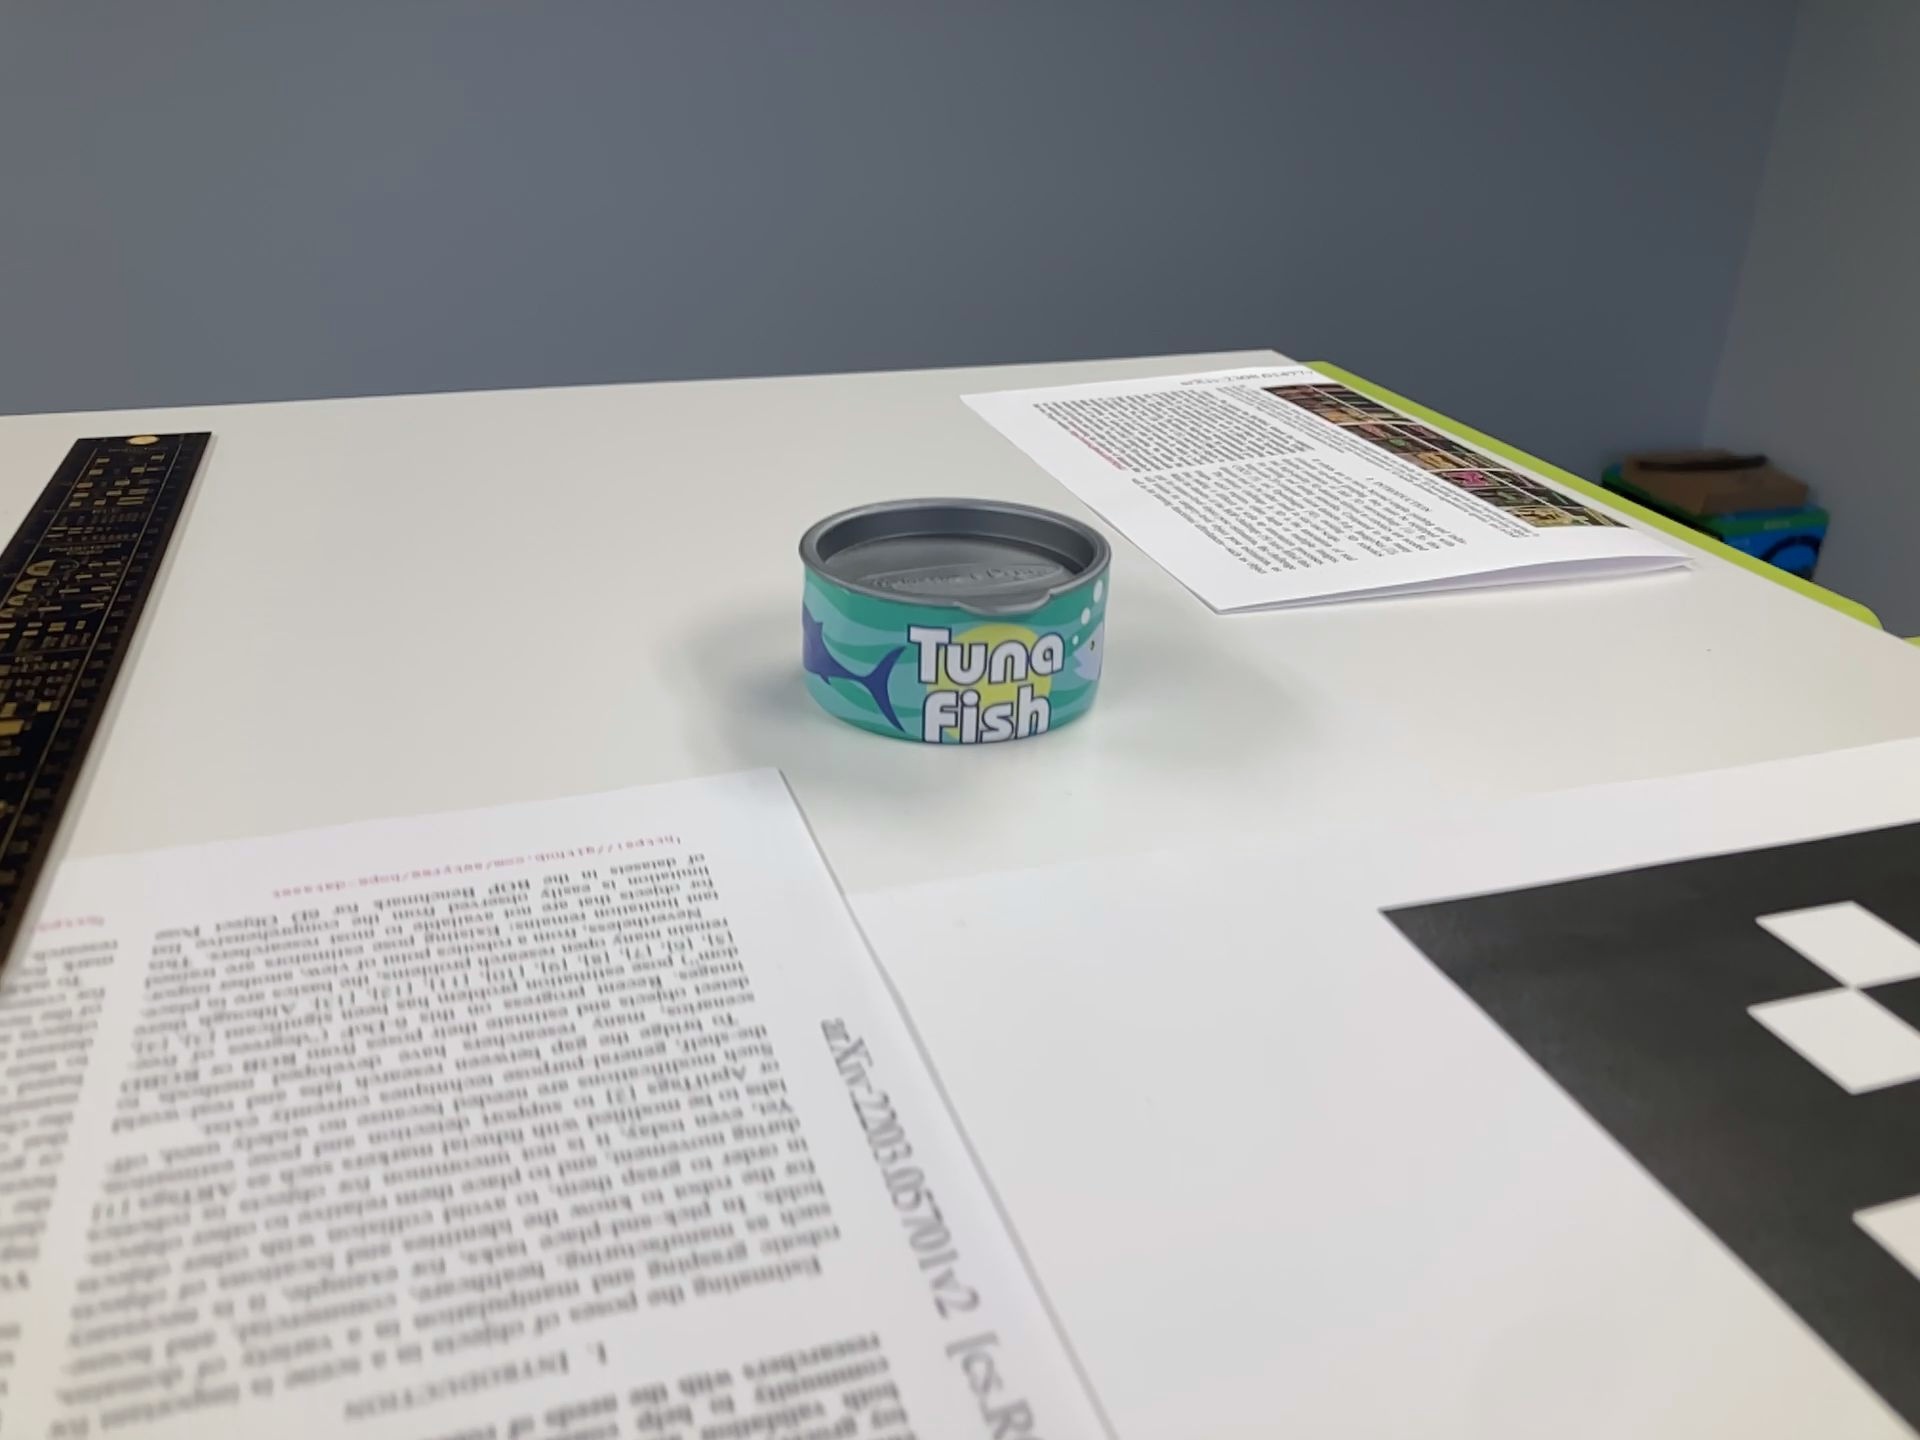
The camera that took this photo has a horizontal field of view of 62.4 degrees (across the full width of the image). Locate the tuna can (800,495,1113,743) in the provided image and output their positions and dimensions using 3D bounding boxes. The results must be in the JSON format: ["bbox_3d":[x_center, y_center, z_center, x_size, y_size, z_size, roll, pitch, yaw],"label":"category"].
[{"bbox_3d":[-0.001,-0.022,0.338,0.071,0.033,0.071,2,25,-1],"label":"tuna can"}]
